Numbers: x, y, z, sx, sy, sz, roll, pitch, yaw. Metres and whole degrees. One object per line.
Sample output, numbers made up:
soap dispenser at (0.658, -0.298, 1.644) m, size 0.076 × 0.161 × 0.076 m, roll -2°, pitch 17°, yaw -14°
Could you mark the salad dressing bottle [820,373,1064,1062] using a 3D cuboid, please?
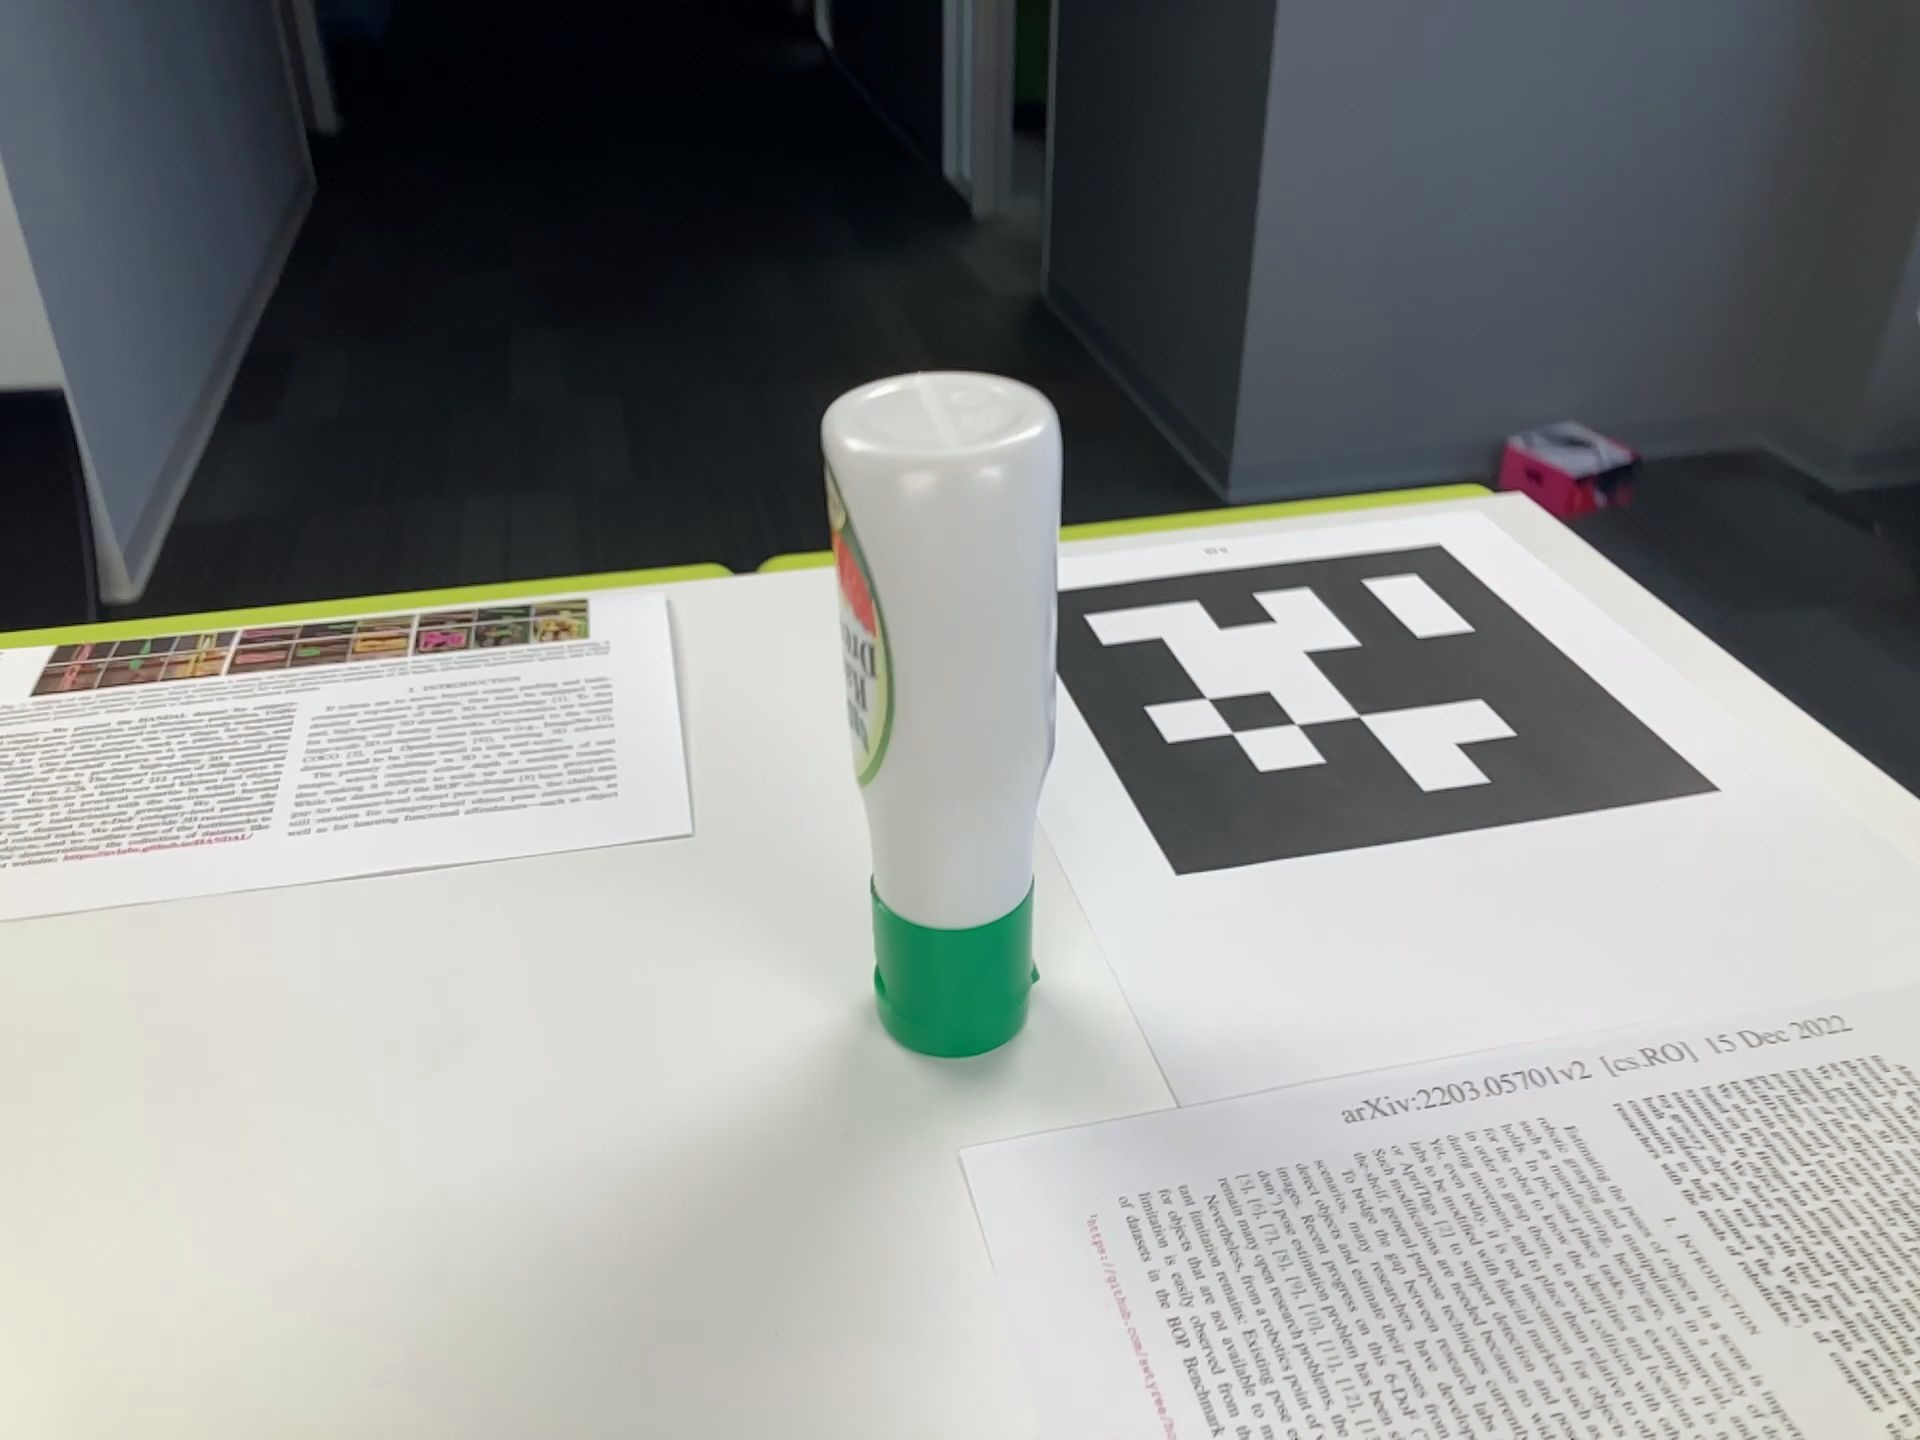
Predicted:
salad dressing bottle at (-0.003, 0.005, 0.329) m, size 0.044 × 0.147 × 0.064 m, roll -7°, pitch 32°, yaw -9°
